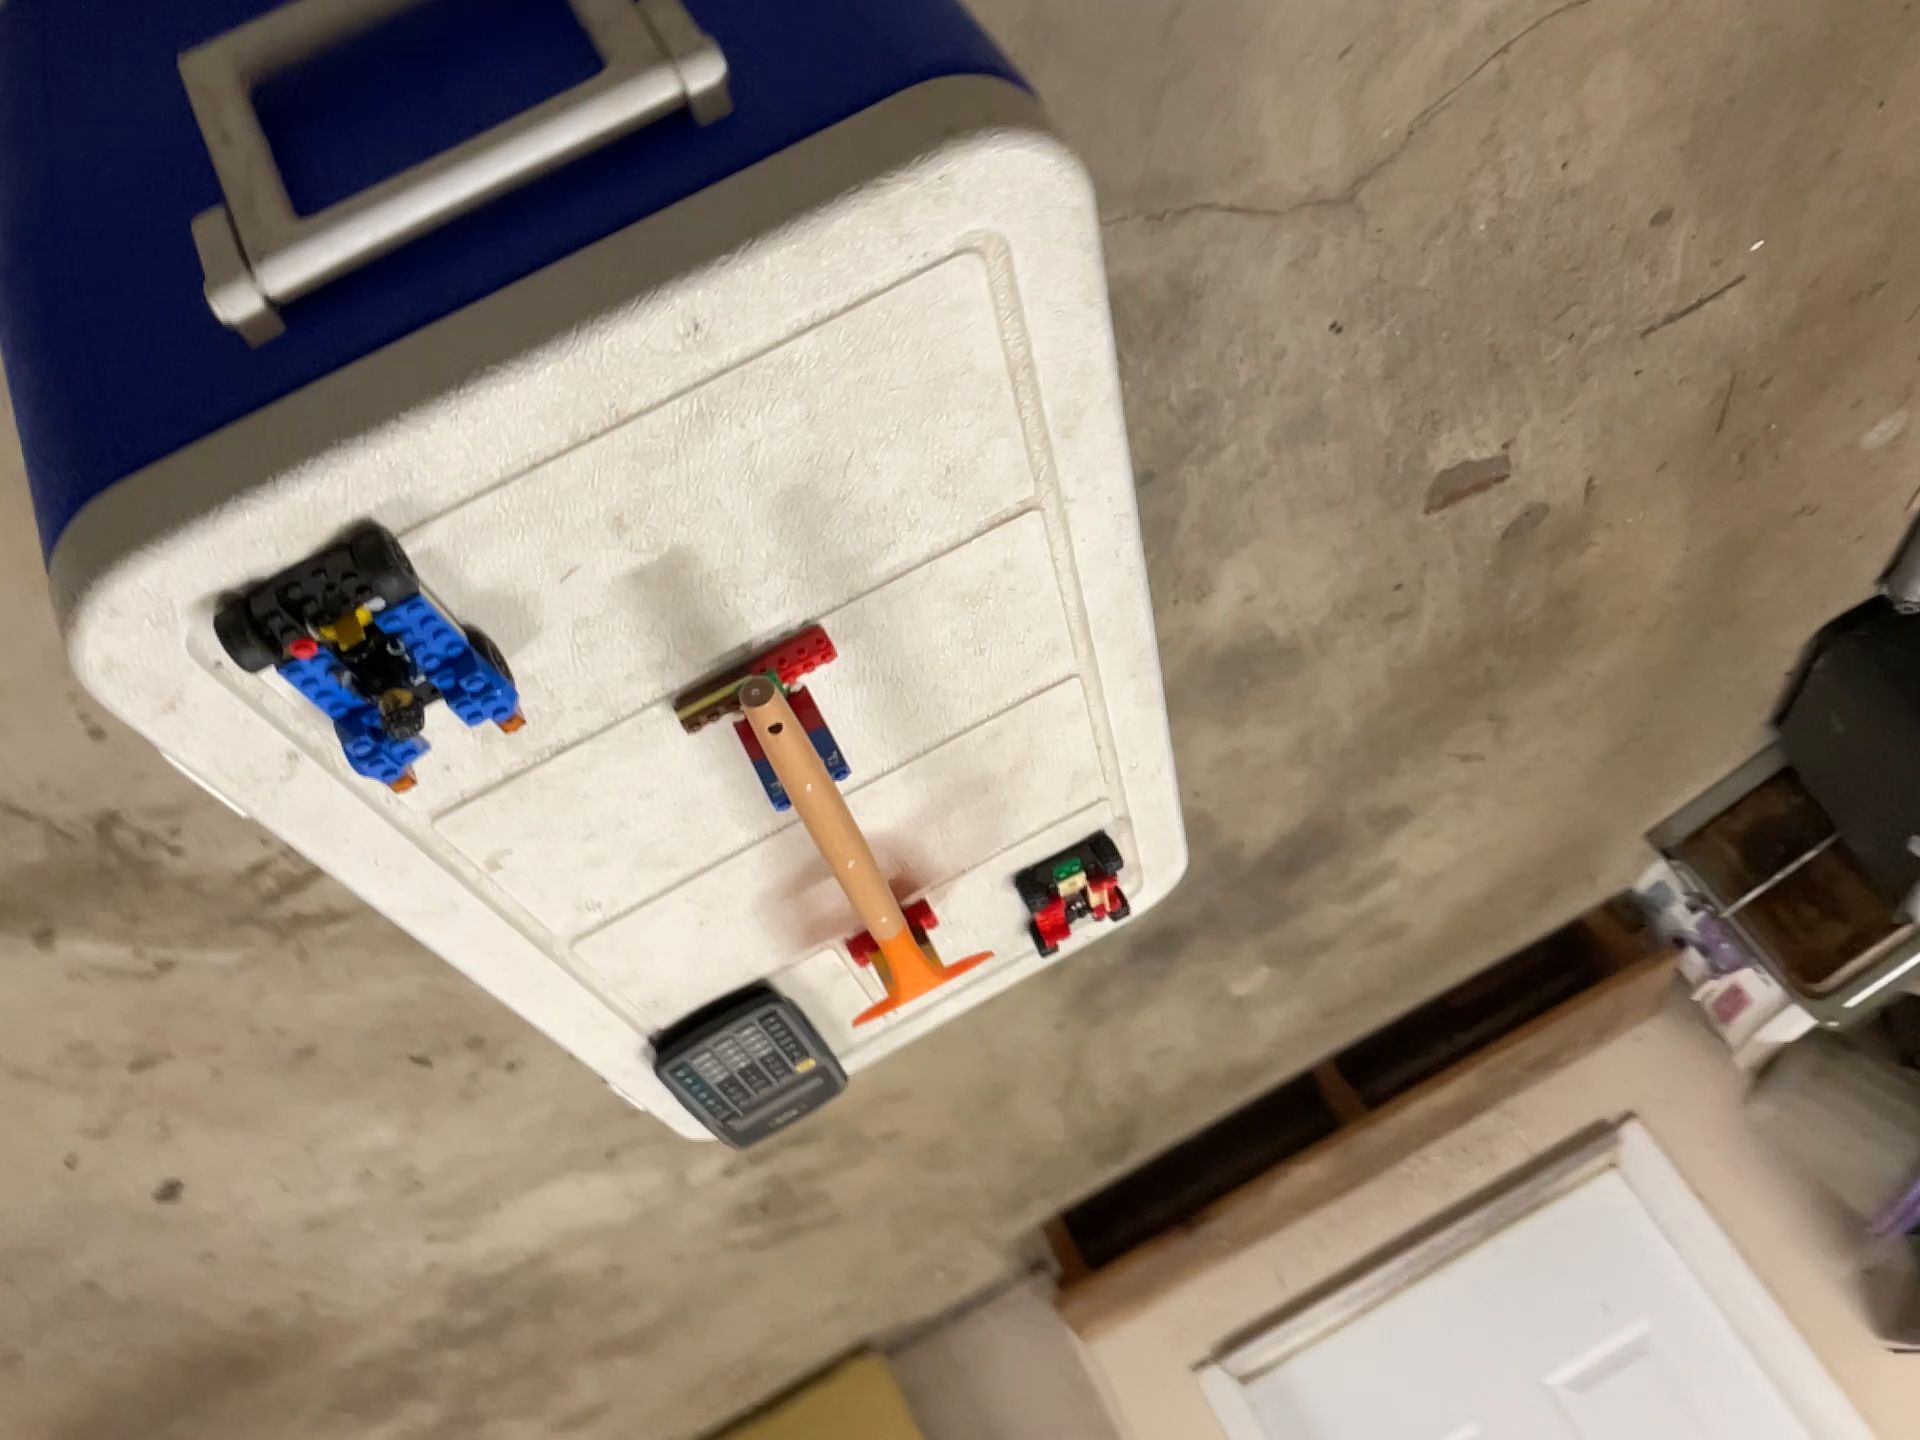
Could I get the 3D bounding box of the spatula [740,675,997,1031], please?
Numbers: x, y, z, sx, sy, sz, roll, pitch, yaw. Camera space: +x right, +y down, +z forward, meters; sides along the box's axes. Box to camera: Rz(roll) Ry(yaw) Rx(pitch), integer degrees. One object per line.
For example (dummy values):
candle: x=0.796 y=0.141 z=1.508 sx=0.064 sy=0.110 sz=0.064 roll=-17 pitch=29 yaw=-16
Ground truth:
spatula: x=-0.040 y=0.068 z=0.663 sx=0.081 sy=0.041 sz=0.322 roll=-27 pitch=147 yaw=-5
